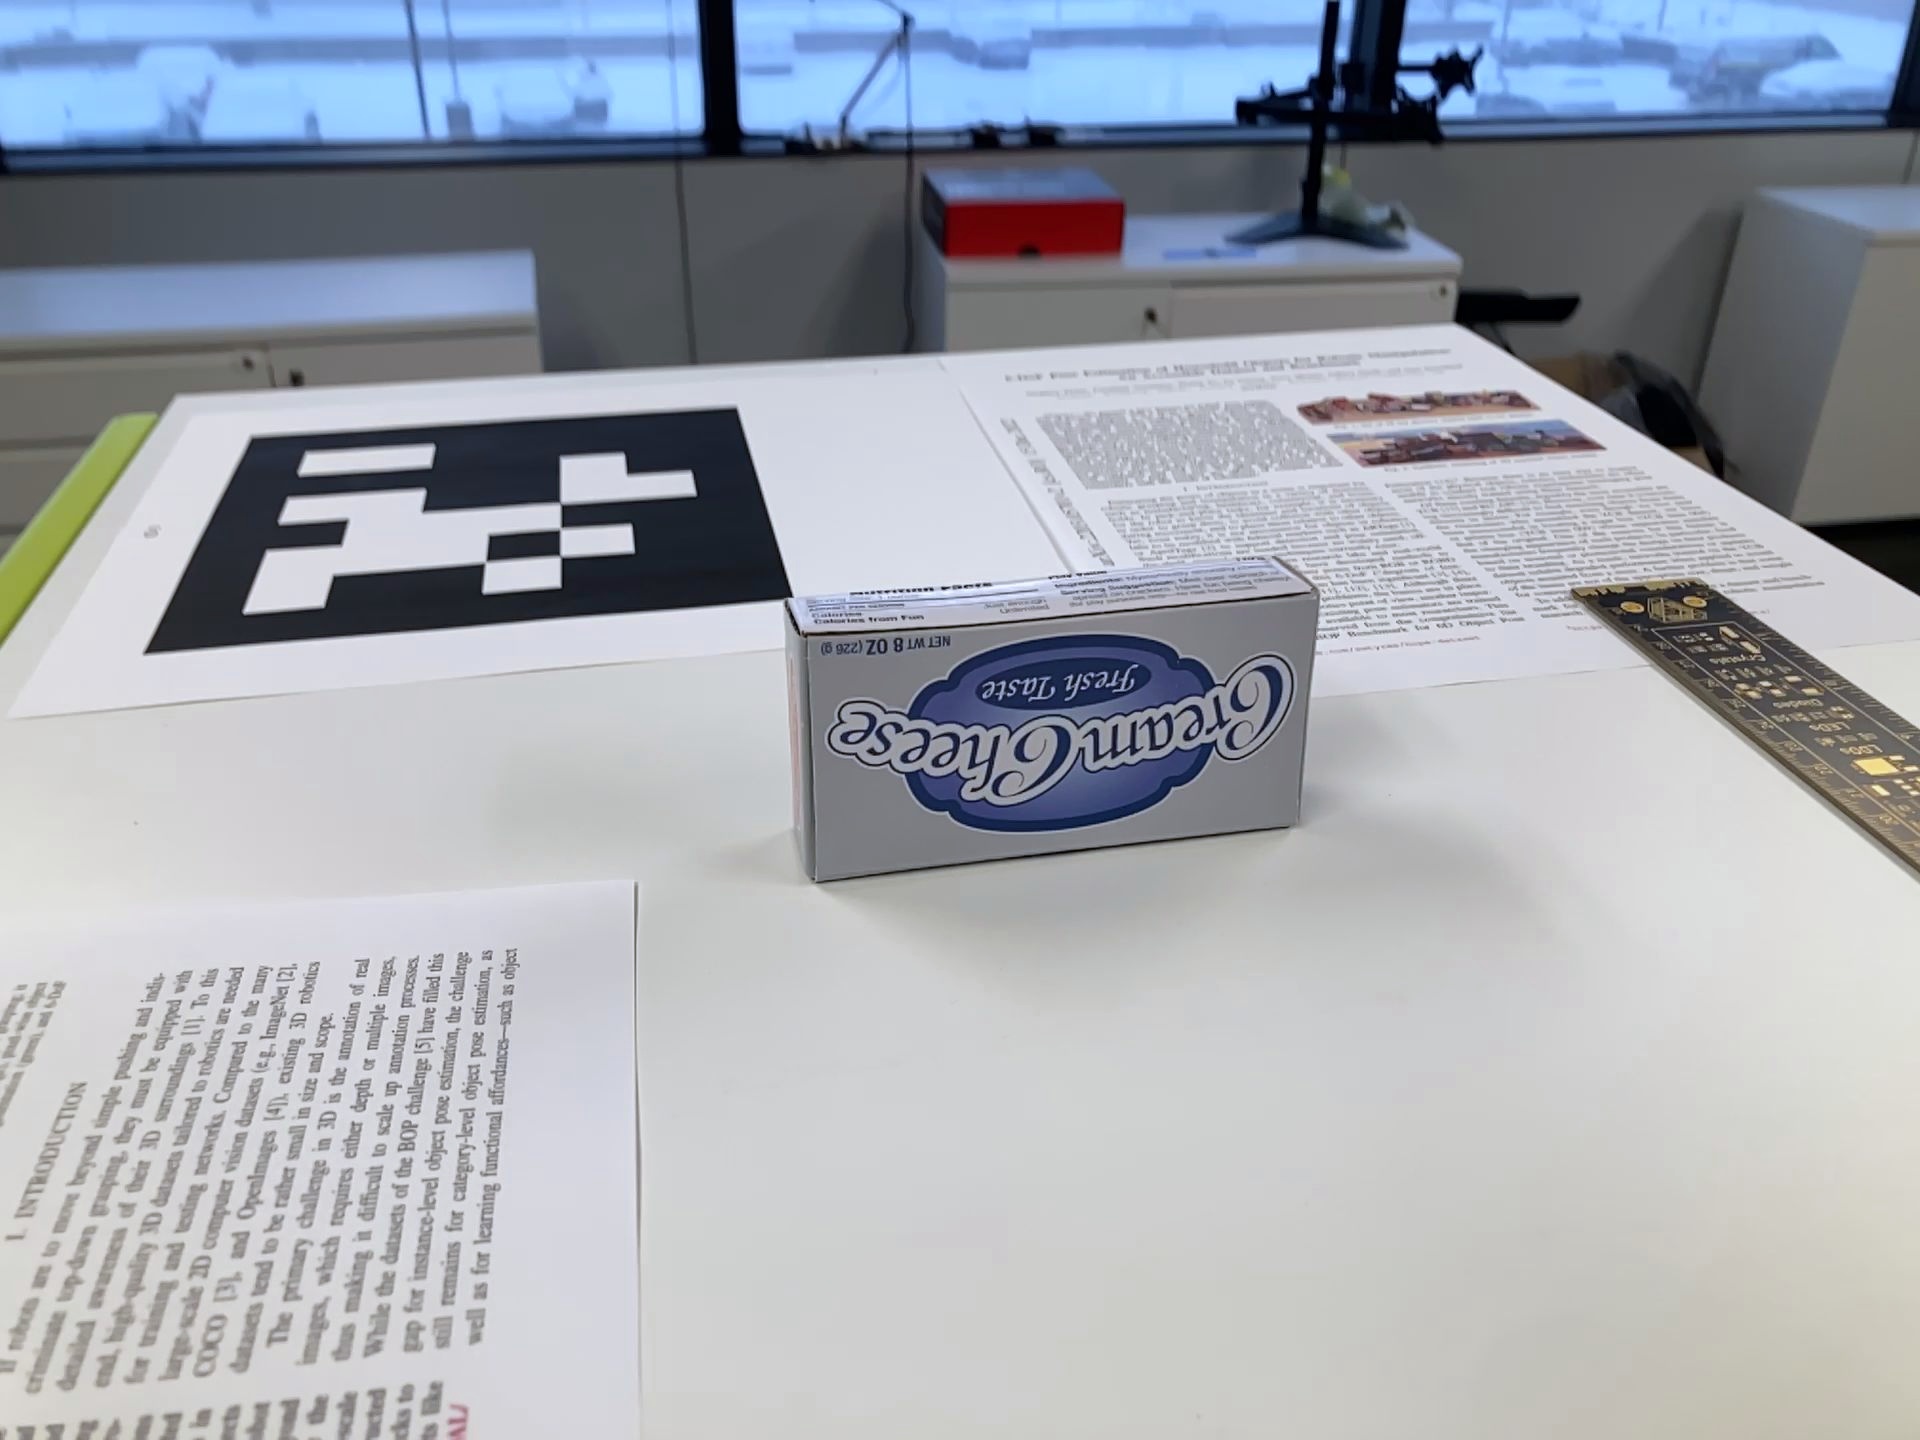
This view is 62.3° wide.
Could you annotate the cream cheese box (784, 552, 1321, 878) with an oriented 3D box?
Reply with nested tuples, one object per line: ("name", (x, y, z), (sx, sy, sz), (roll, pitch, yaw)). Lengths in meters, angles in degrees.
("cream cheese box", (0.018, -0.002, 0.317), (0.104, 0.053, 0.024), (-6, 27, -12))
